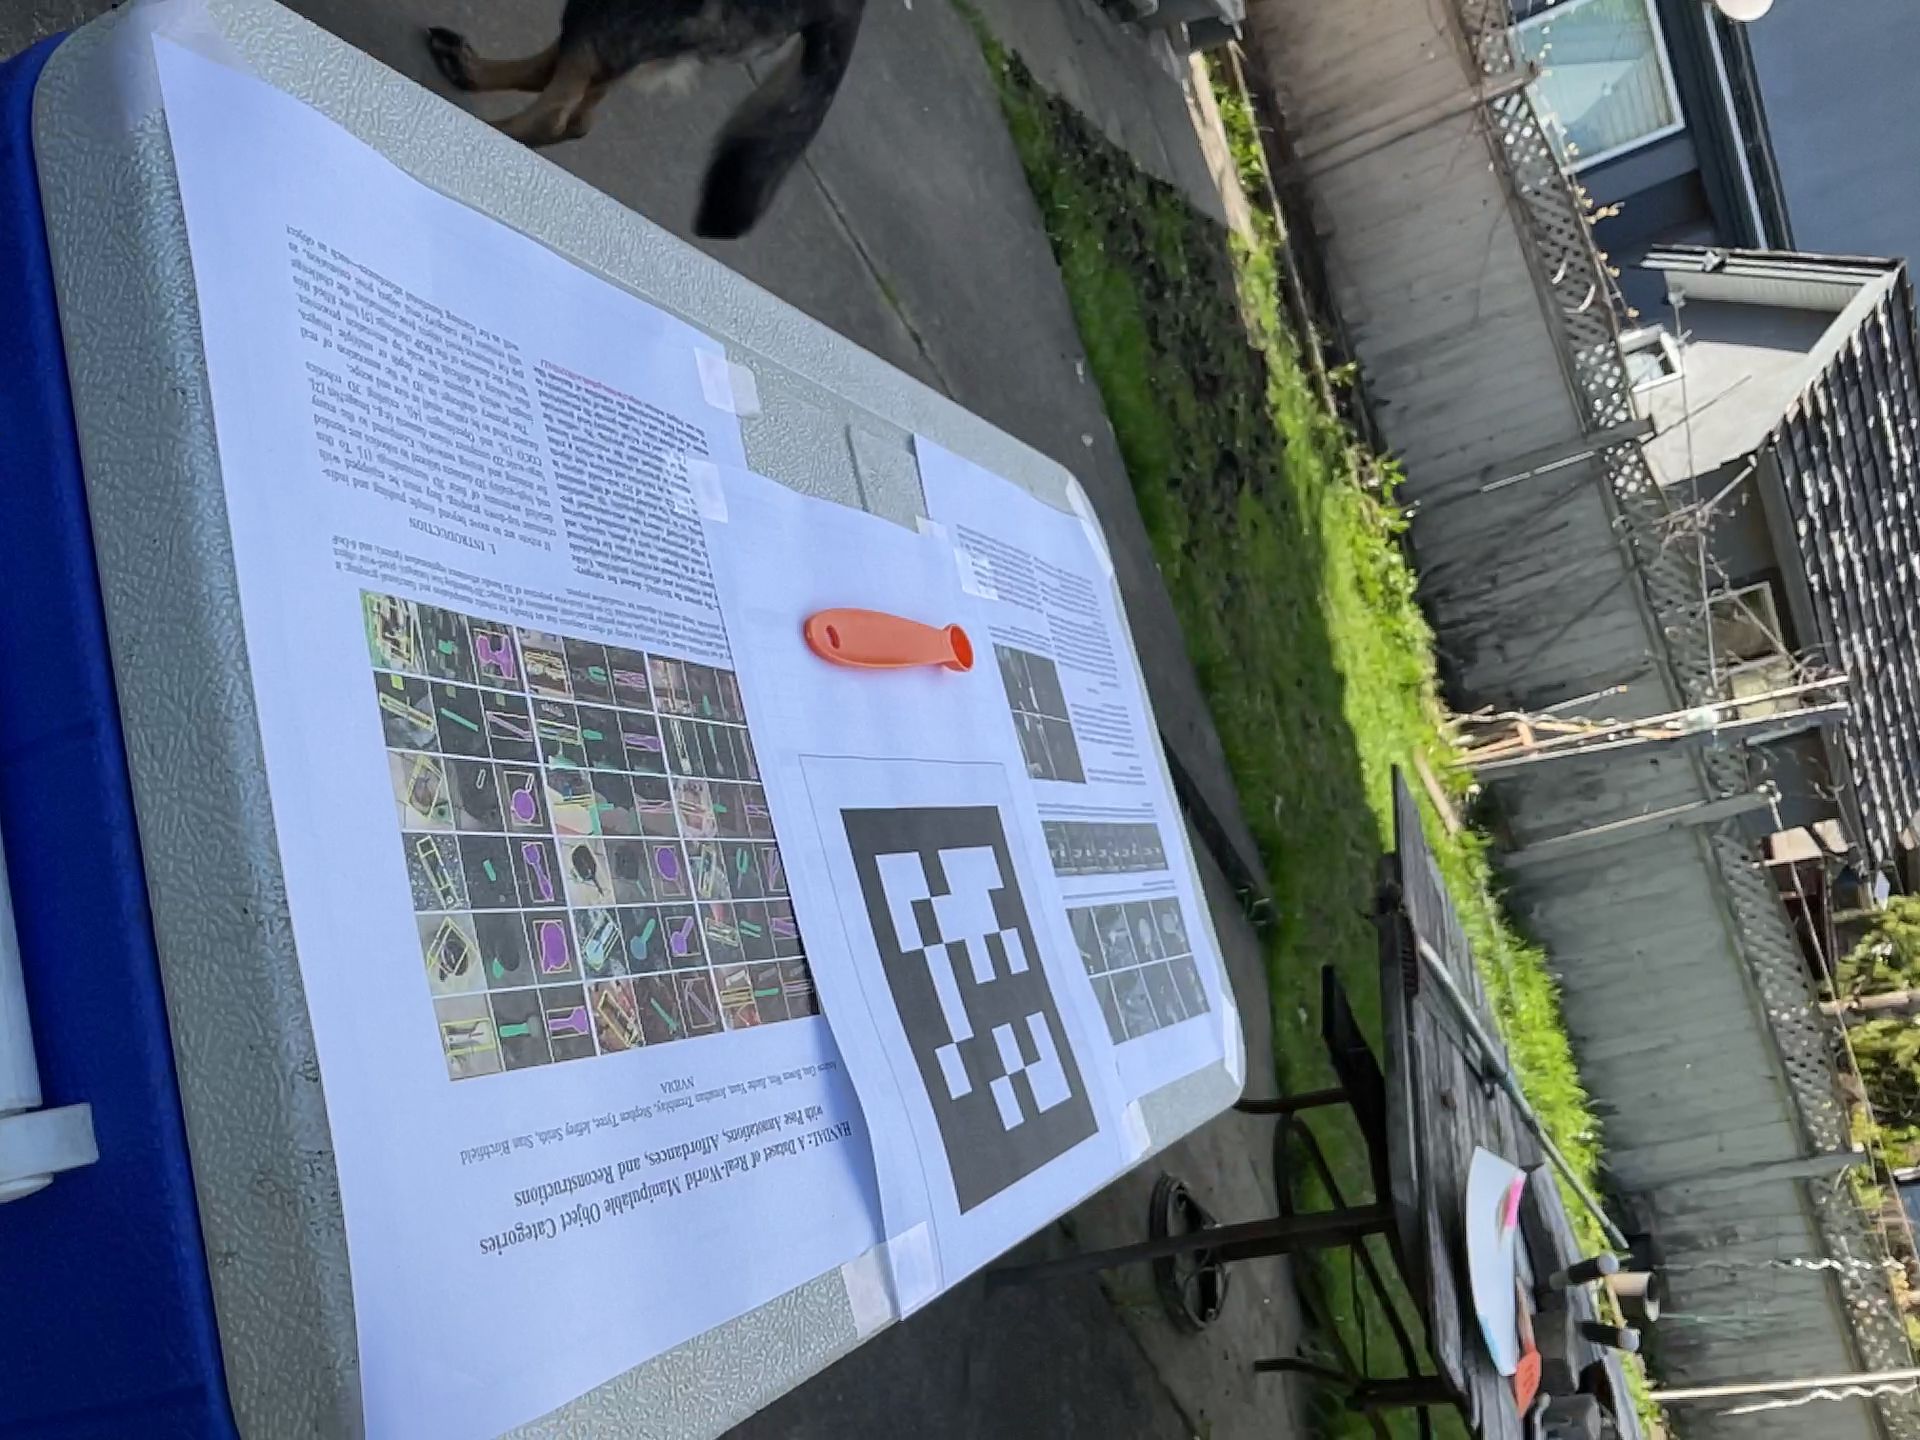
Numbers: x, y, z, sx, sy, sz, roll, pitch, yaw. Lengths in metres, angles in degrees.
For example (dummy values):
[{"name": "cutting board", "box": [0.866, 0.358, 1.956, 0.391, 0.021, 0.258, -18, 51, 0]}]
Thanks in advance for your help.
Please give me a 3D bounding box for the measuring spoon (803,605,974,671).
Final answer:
[{"name": "measuring spoon", "box": [-0.025, -0.027, 0.563, 0.117, 0.011, 0.021, 0, 73, -63]}]
